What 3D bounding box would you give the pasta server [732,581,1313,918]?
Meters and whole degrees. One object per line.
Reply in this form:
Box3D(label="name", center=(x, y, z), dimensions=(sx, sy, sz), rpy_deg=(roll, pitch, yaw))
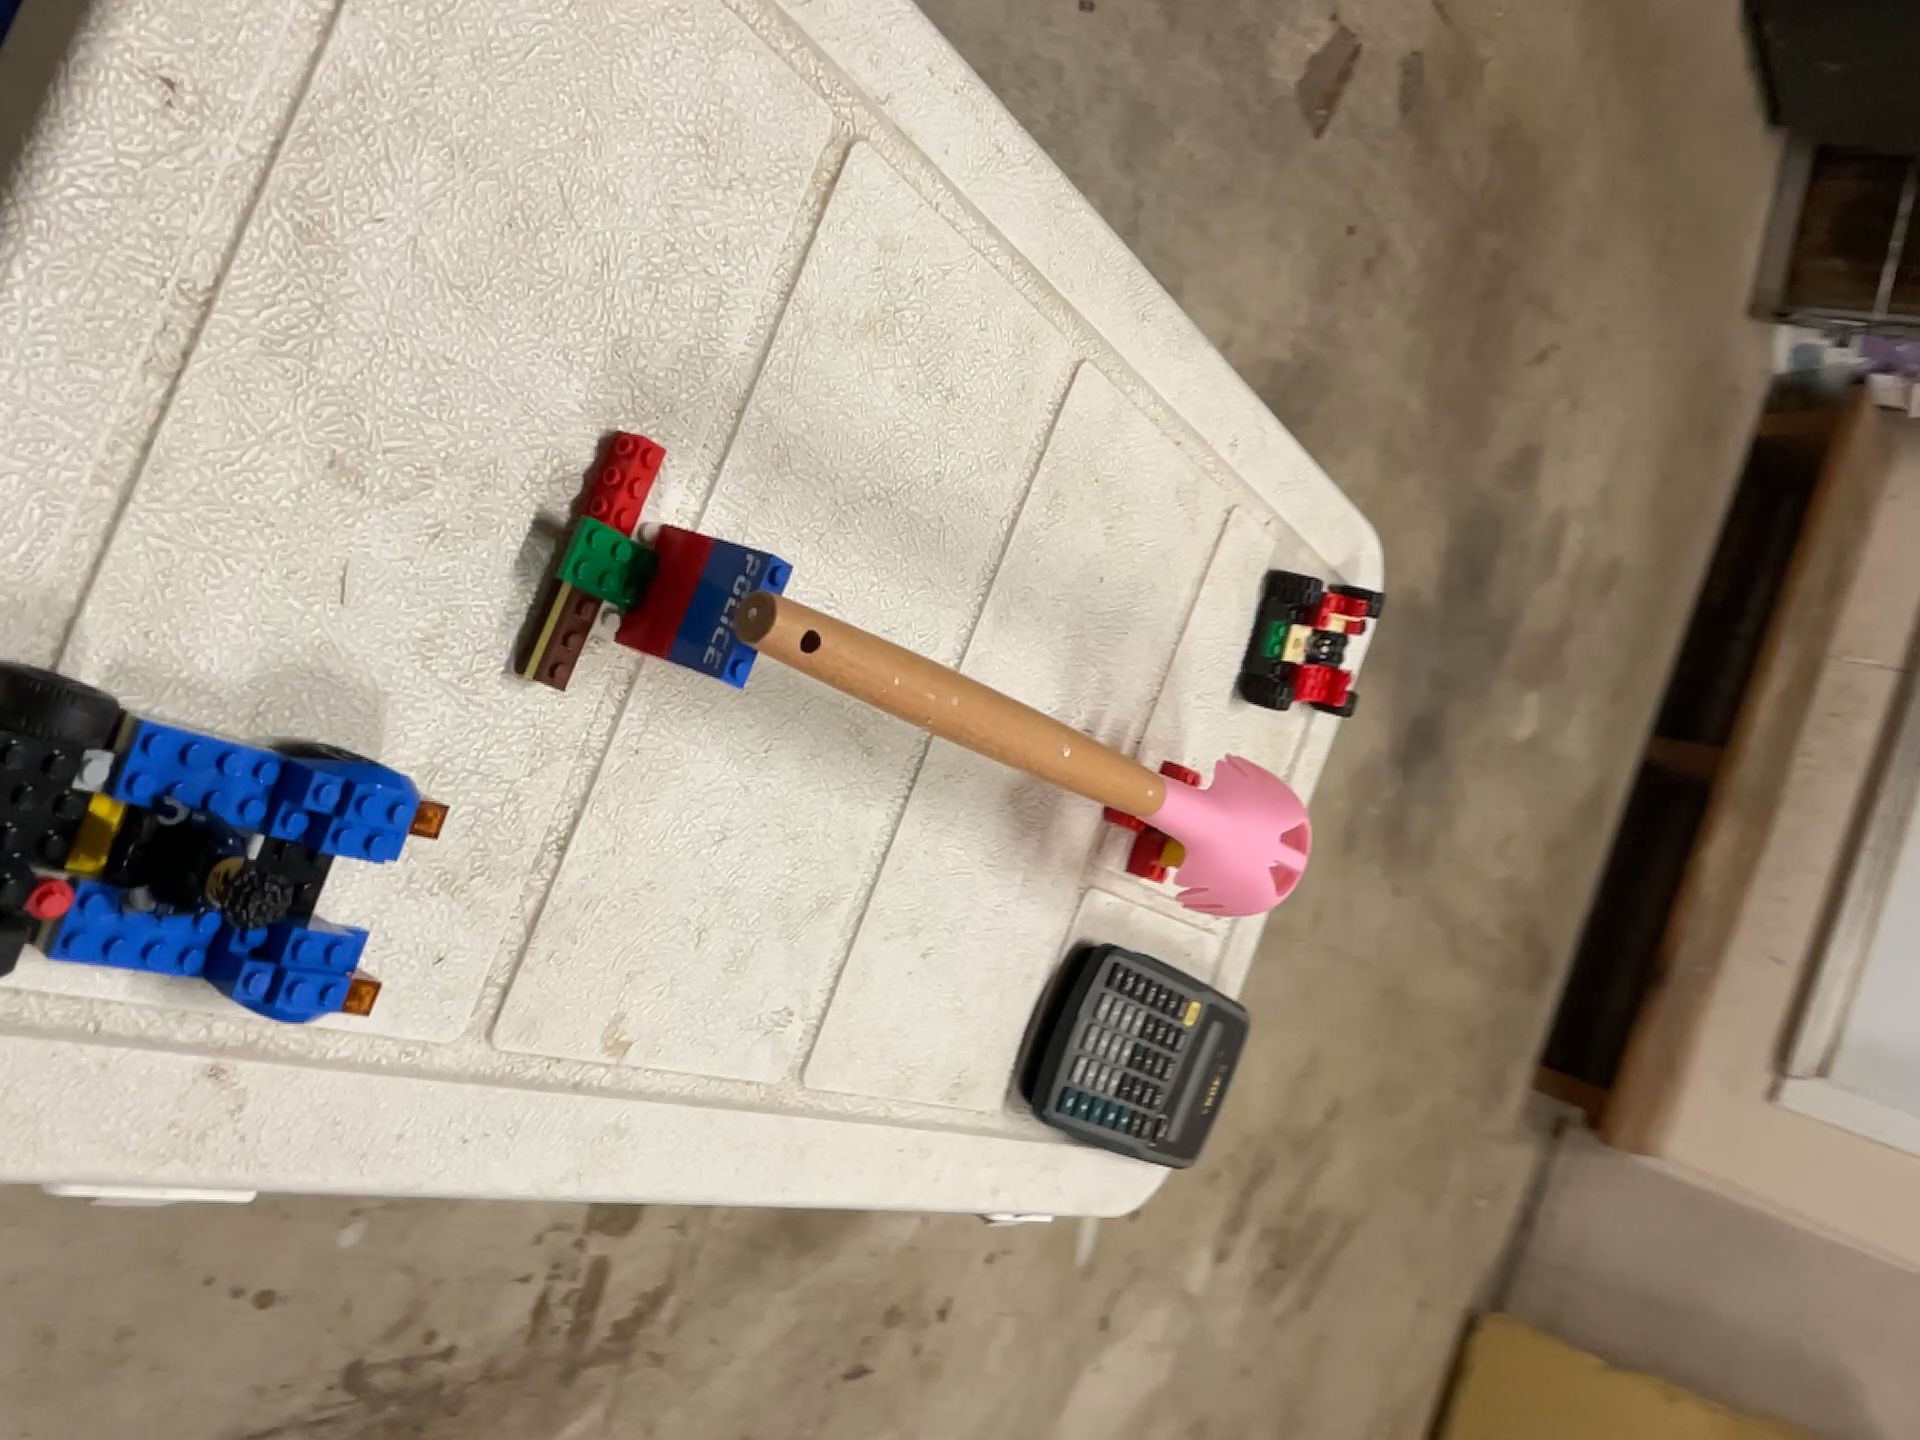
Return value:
Box3D(label="pasta server", center=(0.037, 0.014, 0.485), dimensions=(0.316, 0.040, 0.060), rpy_deg=(25, 86, -51))
